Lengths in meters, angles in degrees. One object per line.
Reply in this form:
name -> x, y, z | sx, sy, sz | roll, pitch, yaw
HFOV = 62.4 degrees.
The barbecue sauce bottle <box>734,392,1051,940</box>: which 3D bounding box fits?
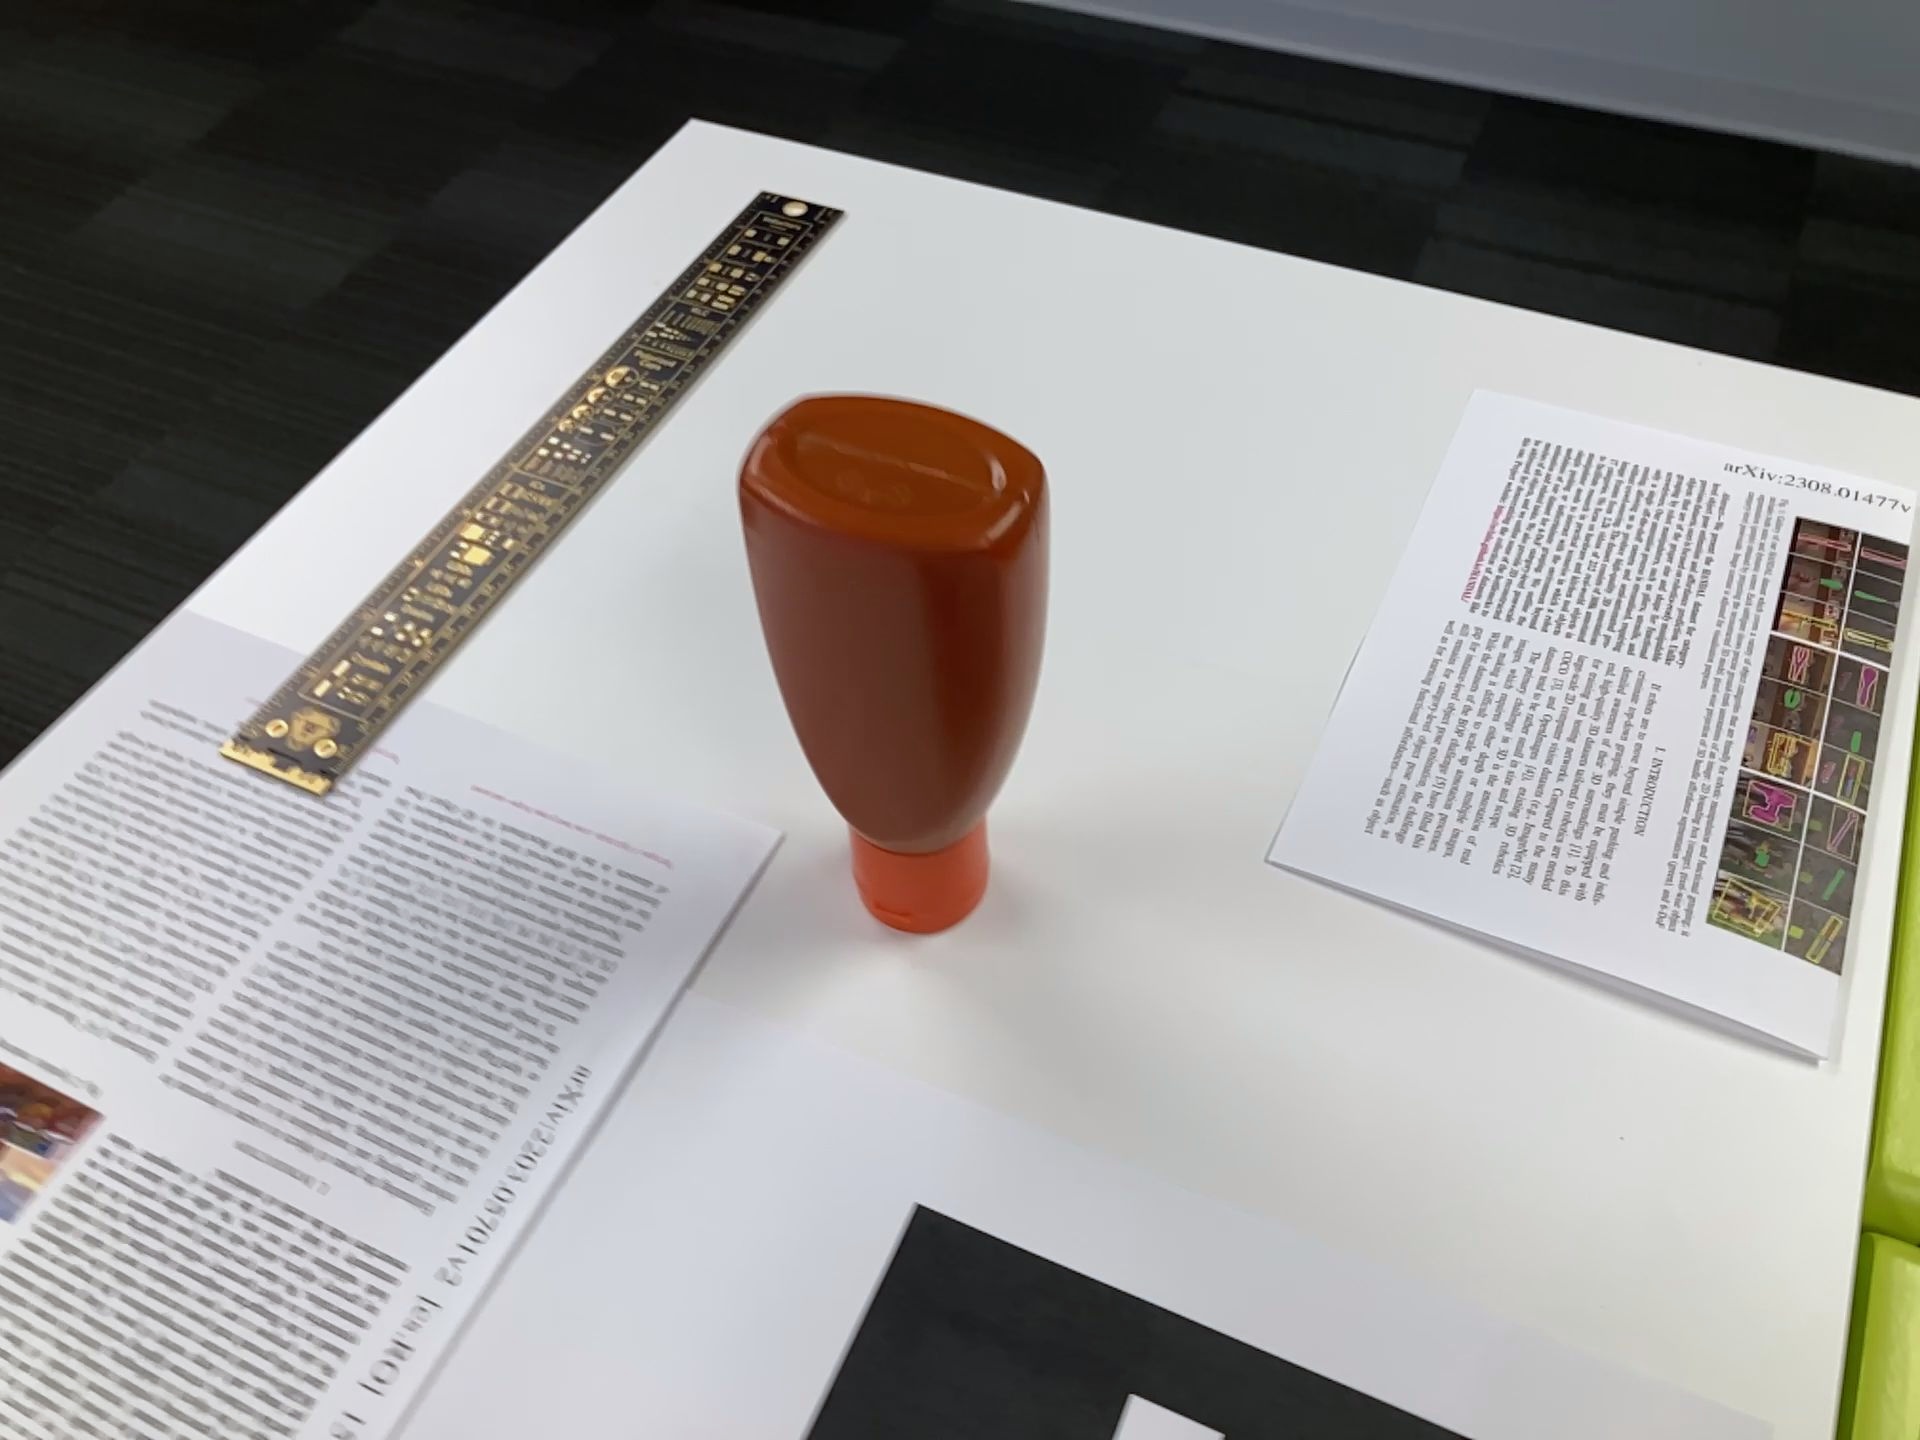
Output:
barbecue sauce bottle -> -0.012, -0.003, 0.369 | 0.065, 0.148, 0.043 | 17, 52, 16
